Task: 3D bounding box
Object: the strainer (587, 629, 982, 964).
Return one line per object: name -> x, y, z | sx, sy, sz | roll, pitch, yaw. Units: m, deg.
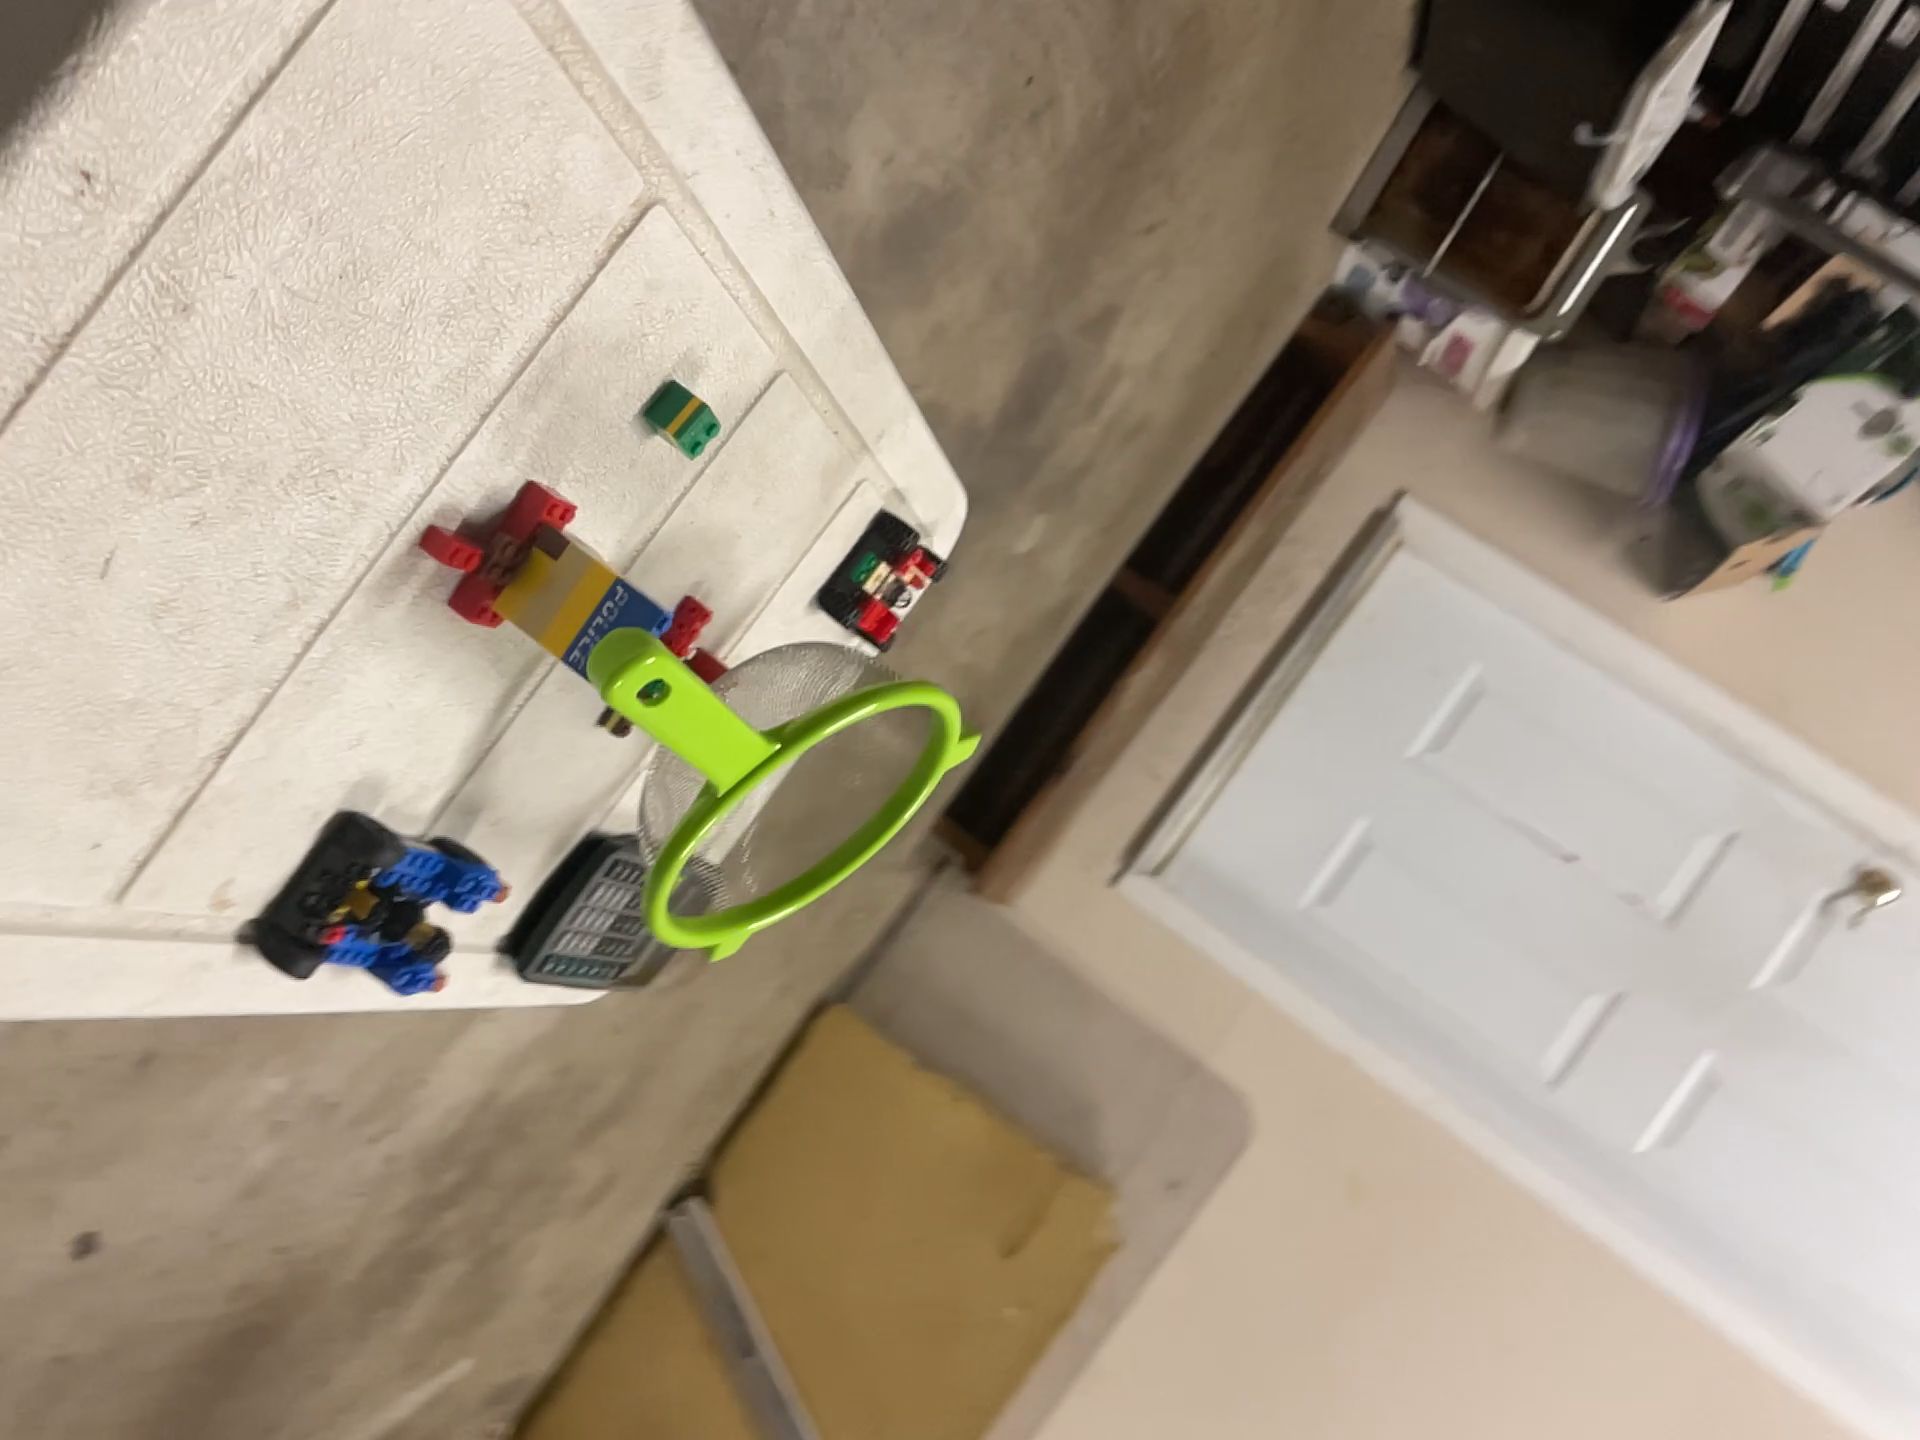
strainer -> -0.089, 0.004, 0.597 | 0.151, 0.069, 0.256 | -40, 158, -2
